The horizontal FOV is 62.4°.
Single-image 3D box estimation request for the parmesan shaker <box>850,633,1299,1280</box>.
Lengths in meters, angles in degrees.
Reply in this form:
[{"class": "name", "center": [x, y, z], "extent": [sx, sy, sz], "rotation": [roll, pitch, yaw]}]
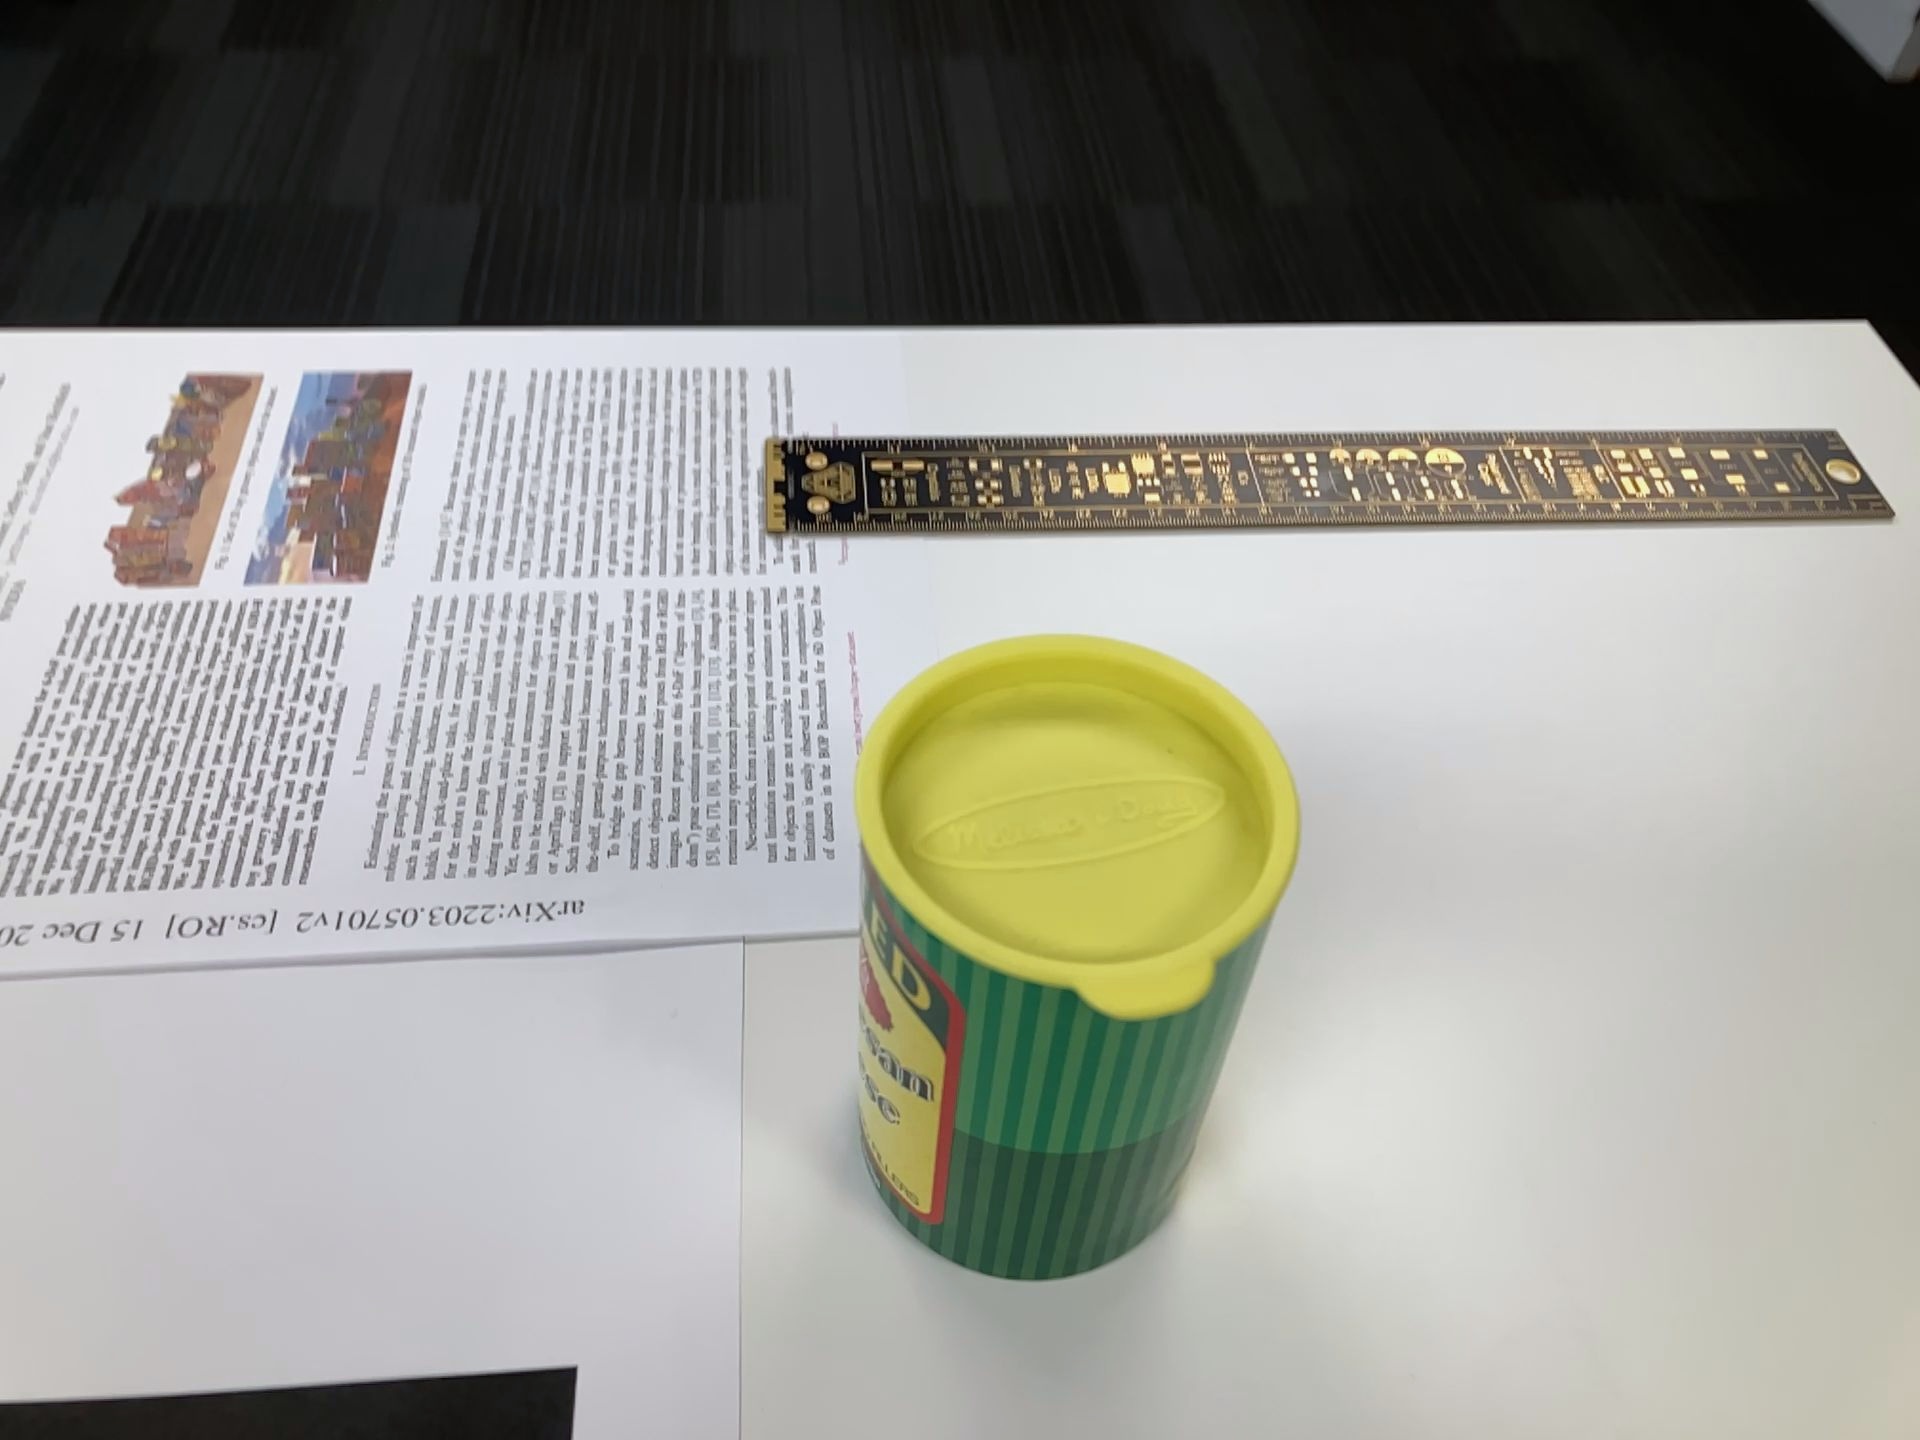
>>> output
[{"class": "parmesan shaker", "center": [0.015, 0.046, 0.270], "extent": [0.071, 0.103, 0.071], "rotation": [2, 48, -2]}]
